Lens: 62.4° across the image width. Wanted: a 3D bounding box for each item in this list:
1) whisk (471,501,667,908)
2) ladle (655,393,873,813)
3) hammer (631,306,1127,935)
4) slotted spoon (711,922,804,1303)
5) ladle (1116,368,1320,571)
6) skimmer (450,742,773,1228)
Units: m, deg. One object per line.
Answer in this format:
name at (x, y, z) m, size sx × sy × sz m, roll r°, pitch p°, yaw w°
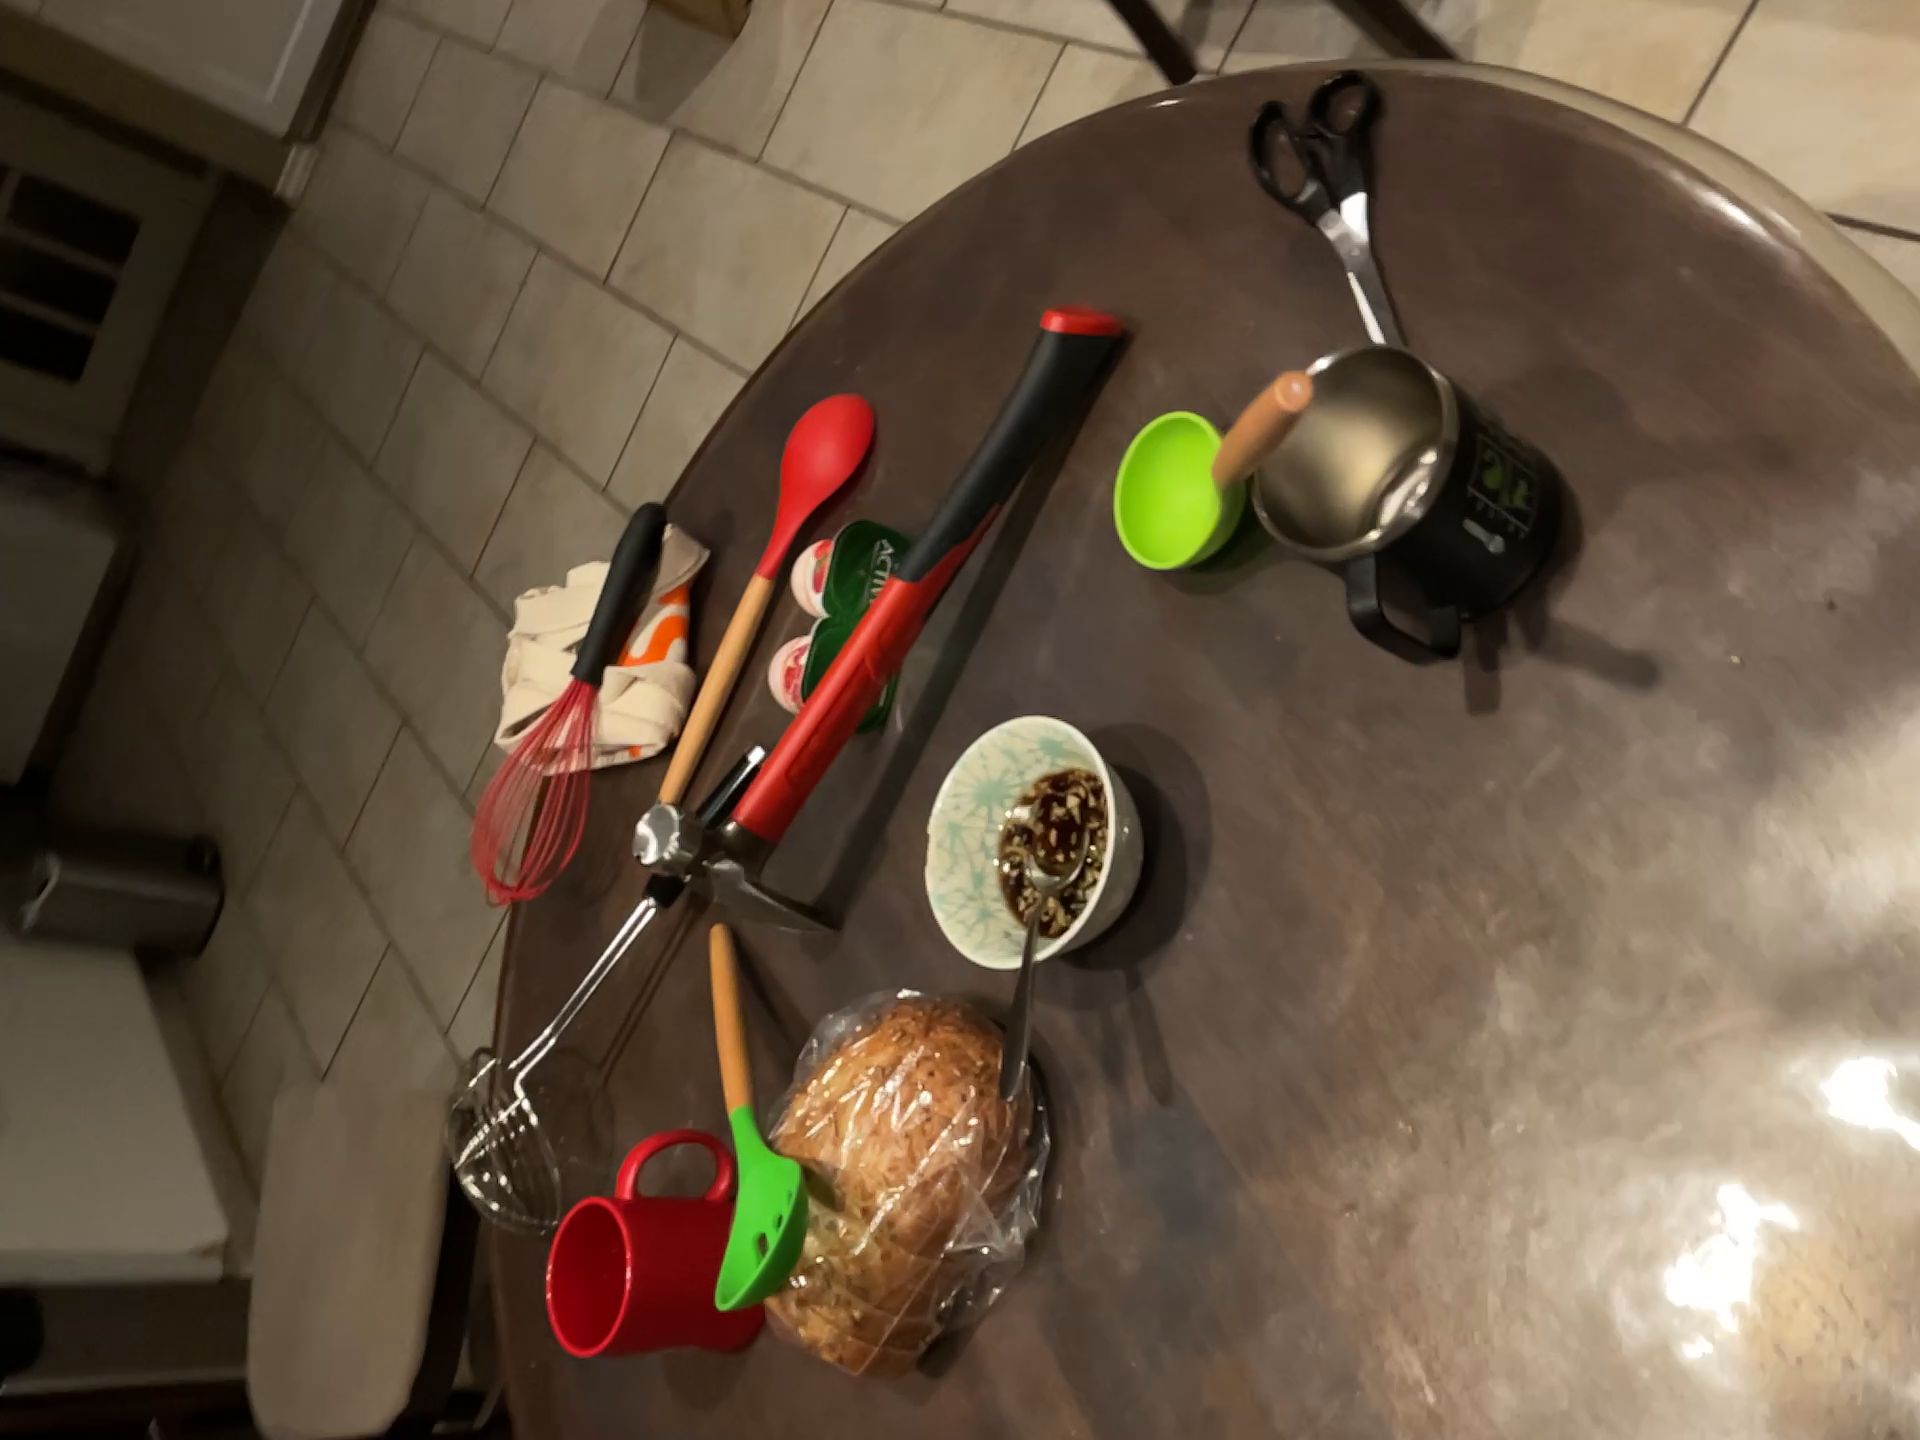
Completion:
whisk at (-0.260, -0.009, 1.069) m, size 0.073 × 0.073 × 0.296 m, roll 26°, pitch 96°, yaw 48°
ladle at (-0.138, -0.071, 1.039) m, size 0.069 × 0.031 × 0.315 m, roll 35°, pitch 104°, yaw 46°
hammer at (-0.021, -0.056, 0.880) m, size 0.038 × 0.143 × 0.386 m, roll 35°, pitch 91°, yaw 44°
slotted spoon at (-0.118, 0.194, 0.854) m, size 0.070 × 0.031 × 0.314 m, roll -53°, pitch 24°, yaw 13°
ladle at (0.101, -0.107, 0.648) m, size 0.062 × 0.320 × 0.078 m, roll 5°, pitch 92°, yaw 3°
skimmer at (-0.214, 0.171, 1.032) m, size 0.363 × 0.090 × 0.127 m, roll -52°, pitch 54°, yaw 5°
